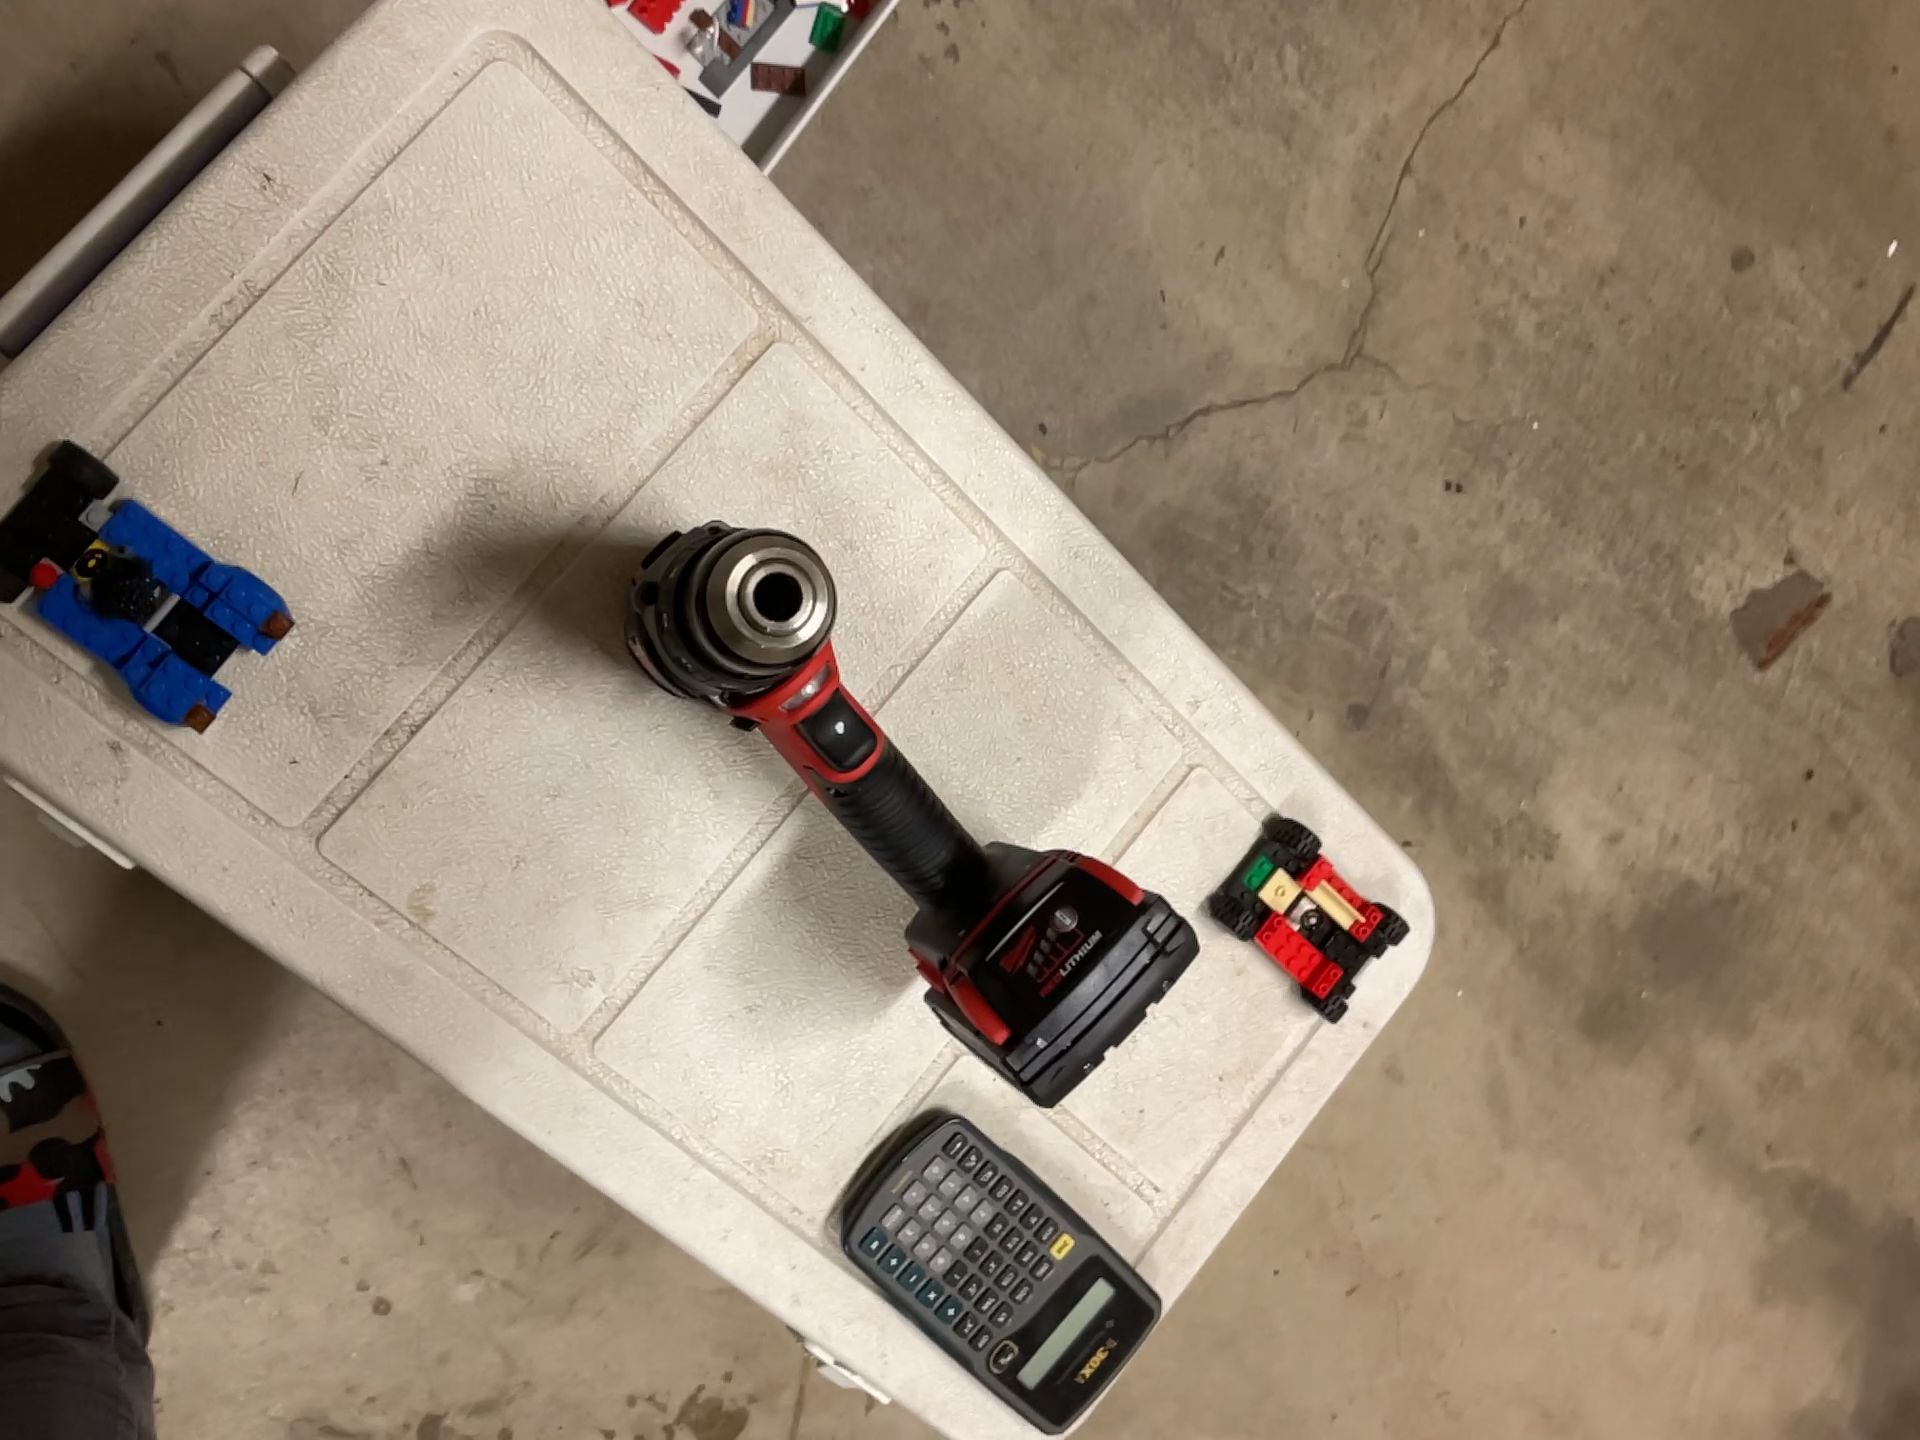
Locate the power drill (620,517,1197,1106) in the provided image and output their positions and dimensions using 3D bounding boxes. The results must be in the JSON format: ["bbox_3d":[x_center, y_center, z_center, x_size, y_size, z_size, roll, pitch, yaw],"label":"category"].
[{"bbox_3d":[-0.024,0.022,0.544,0.080,0.188,0.226,-44,101,-12],"label":"power drill"}]
